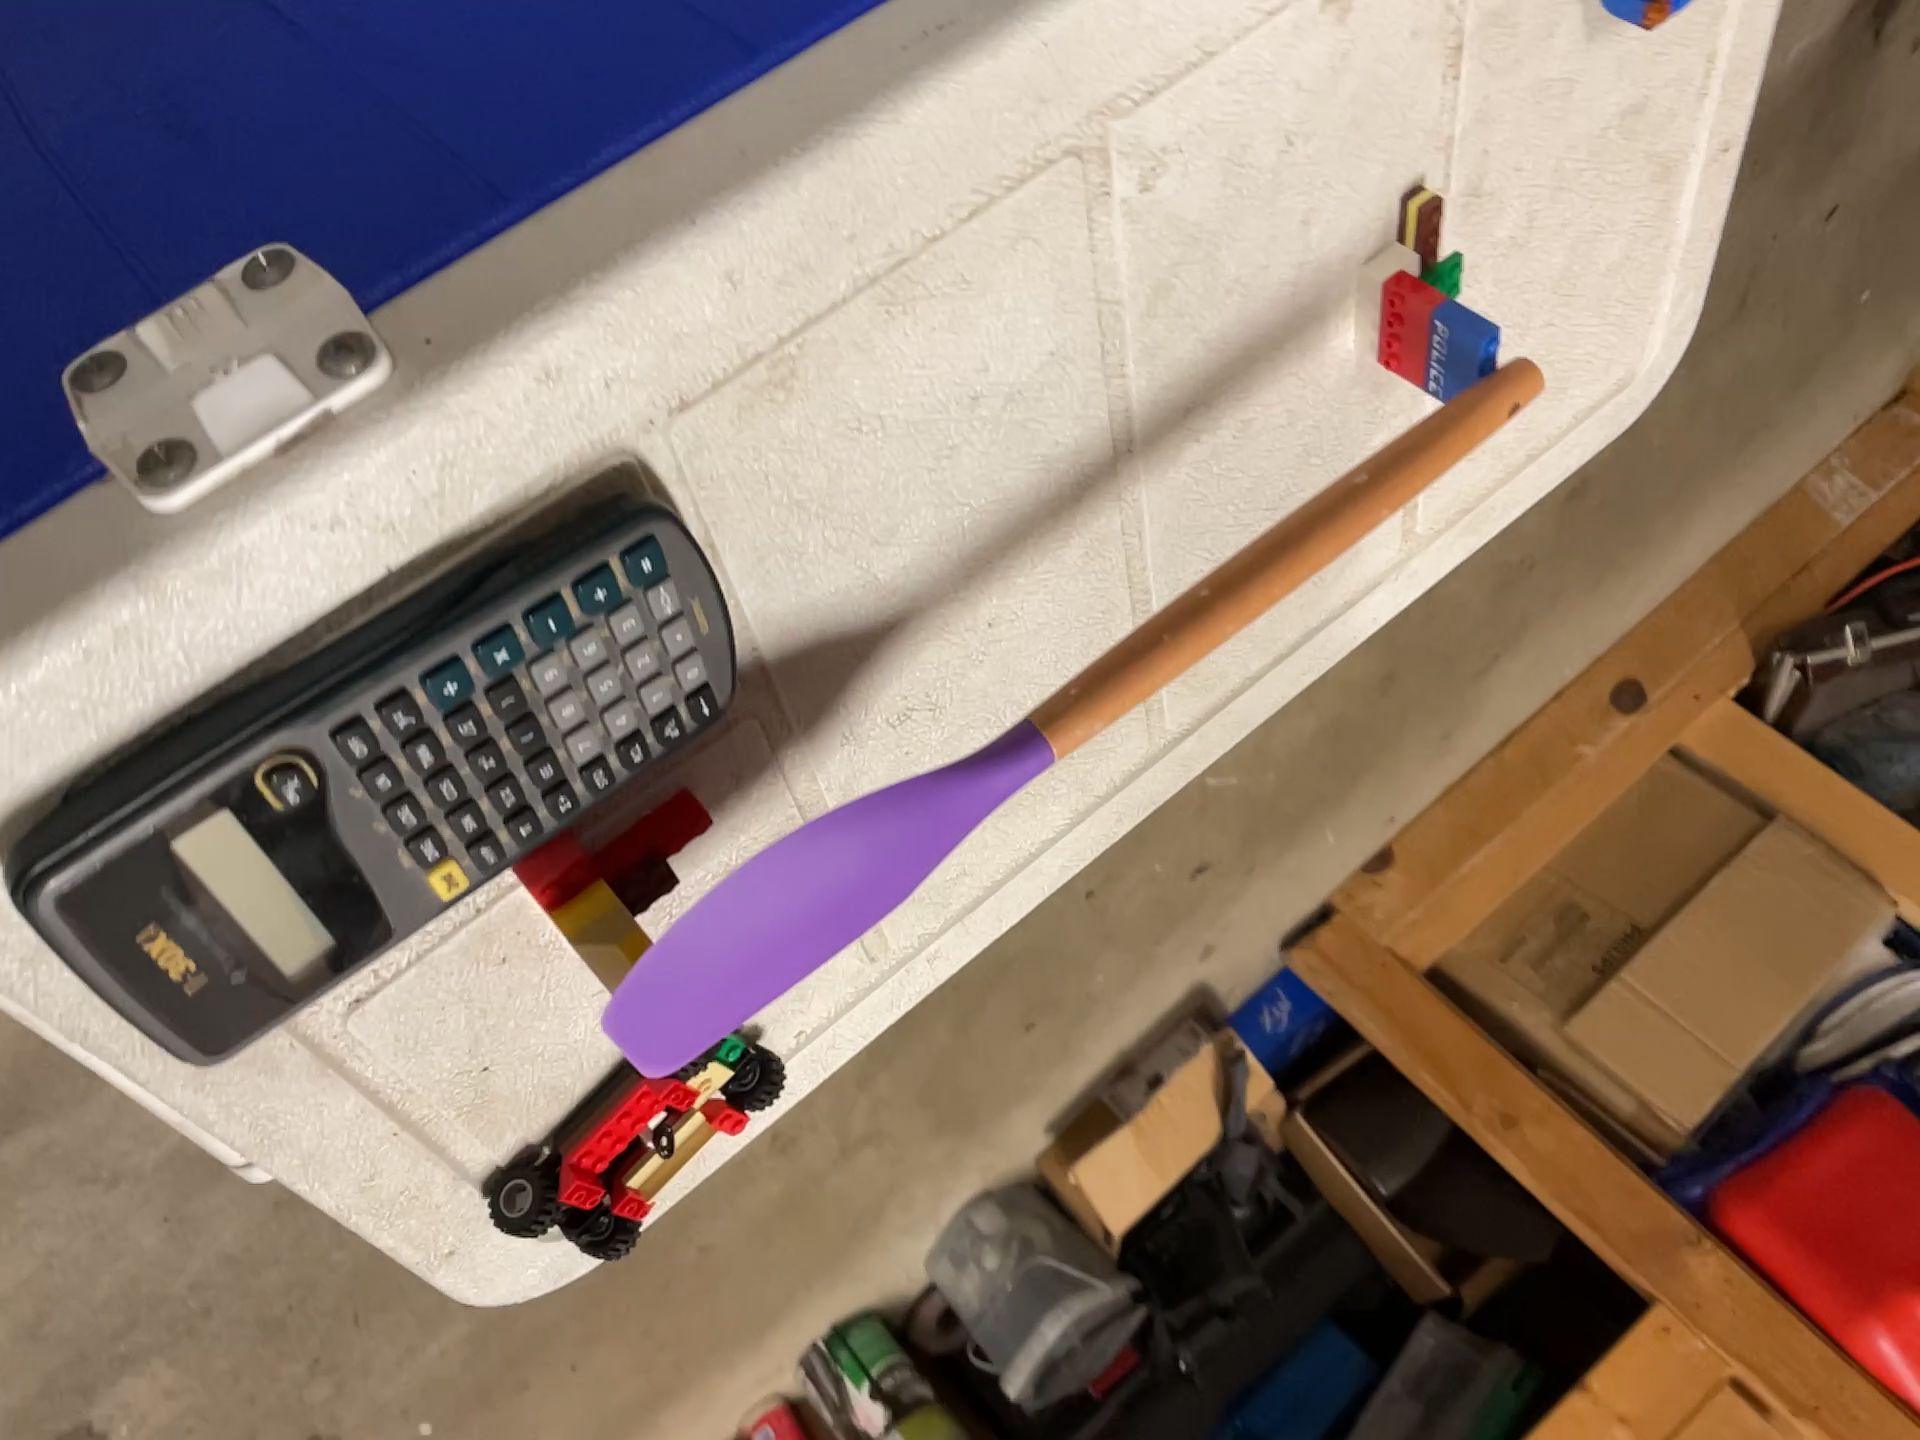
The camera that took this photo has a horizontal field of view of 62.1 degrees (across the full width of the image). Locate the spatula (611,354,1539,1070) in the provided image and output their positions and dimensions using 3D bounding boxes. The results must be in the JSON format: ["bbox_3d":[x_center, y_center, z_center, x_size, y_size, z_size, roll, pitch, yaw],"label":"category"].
[{"bbox_3d":[0.042,-0.012,0.429,0.316,0.018,0.059,-36,147,-14],"label":"spatula"}]
